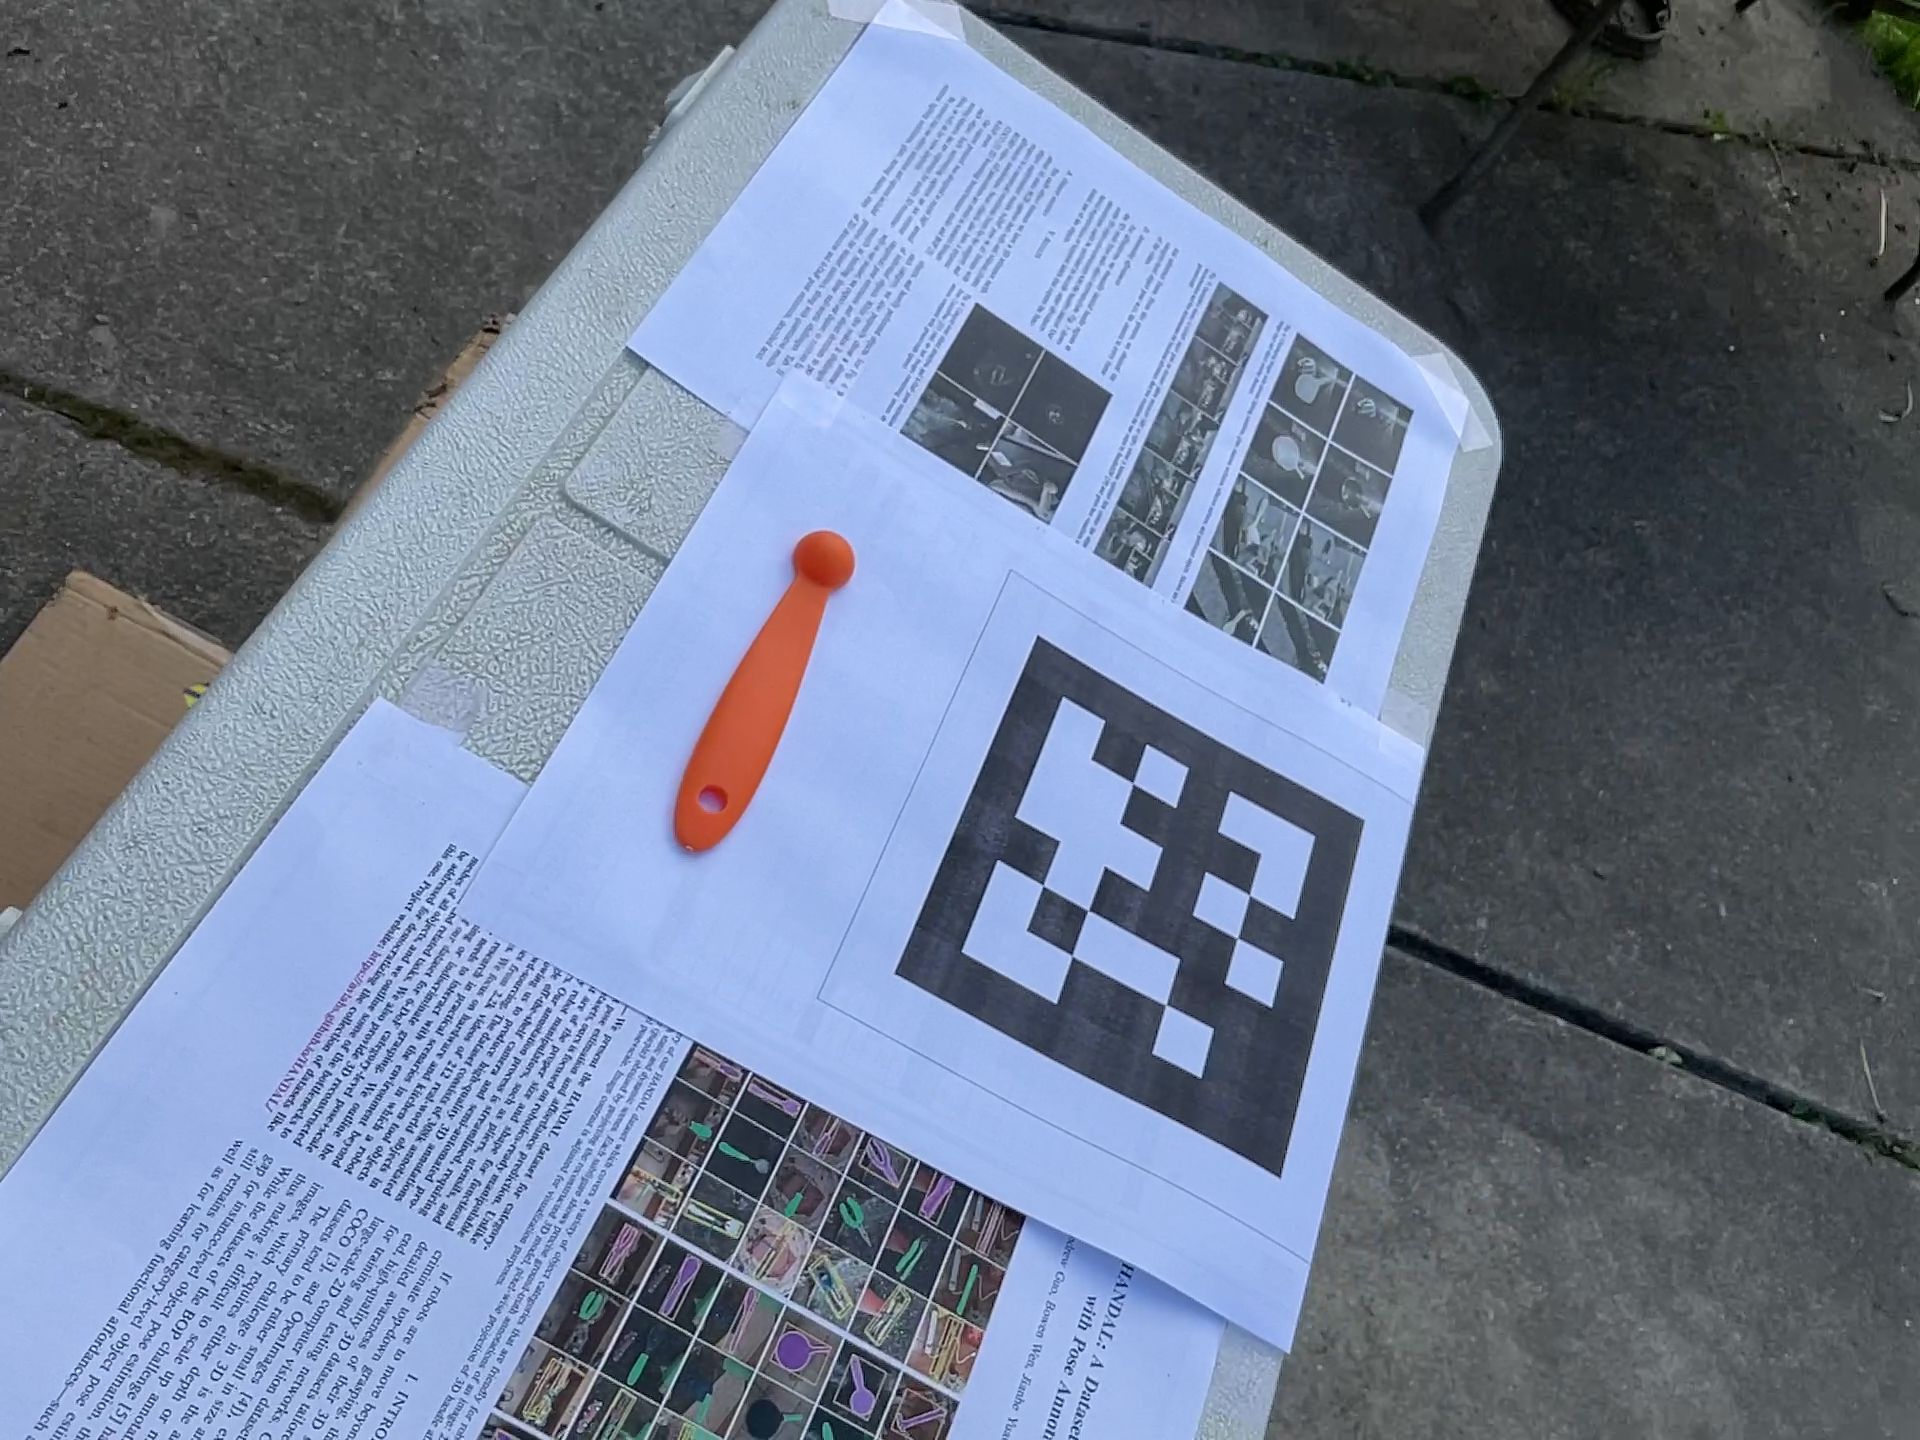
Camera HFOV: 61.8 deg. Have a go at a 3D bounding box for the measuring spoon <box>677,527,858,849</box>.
[{"bbox_3d":[-0.055,-0.013,0.466,0.021,0.011,0.117,25,57,-7],"label":"measuring spoon"}]
